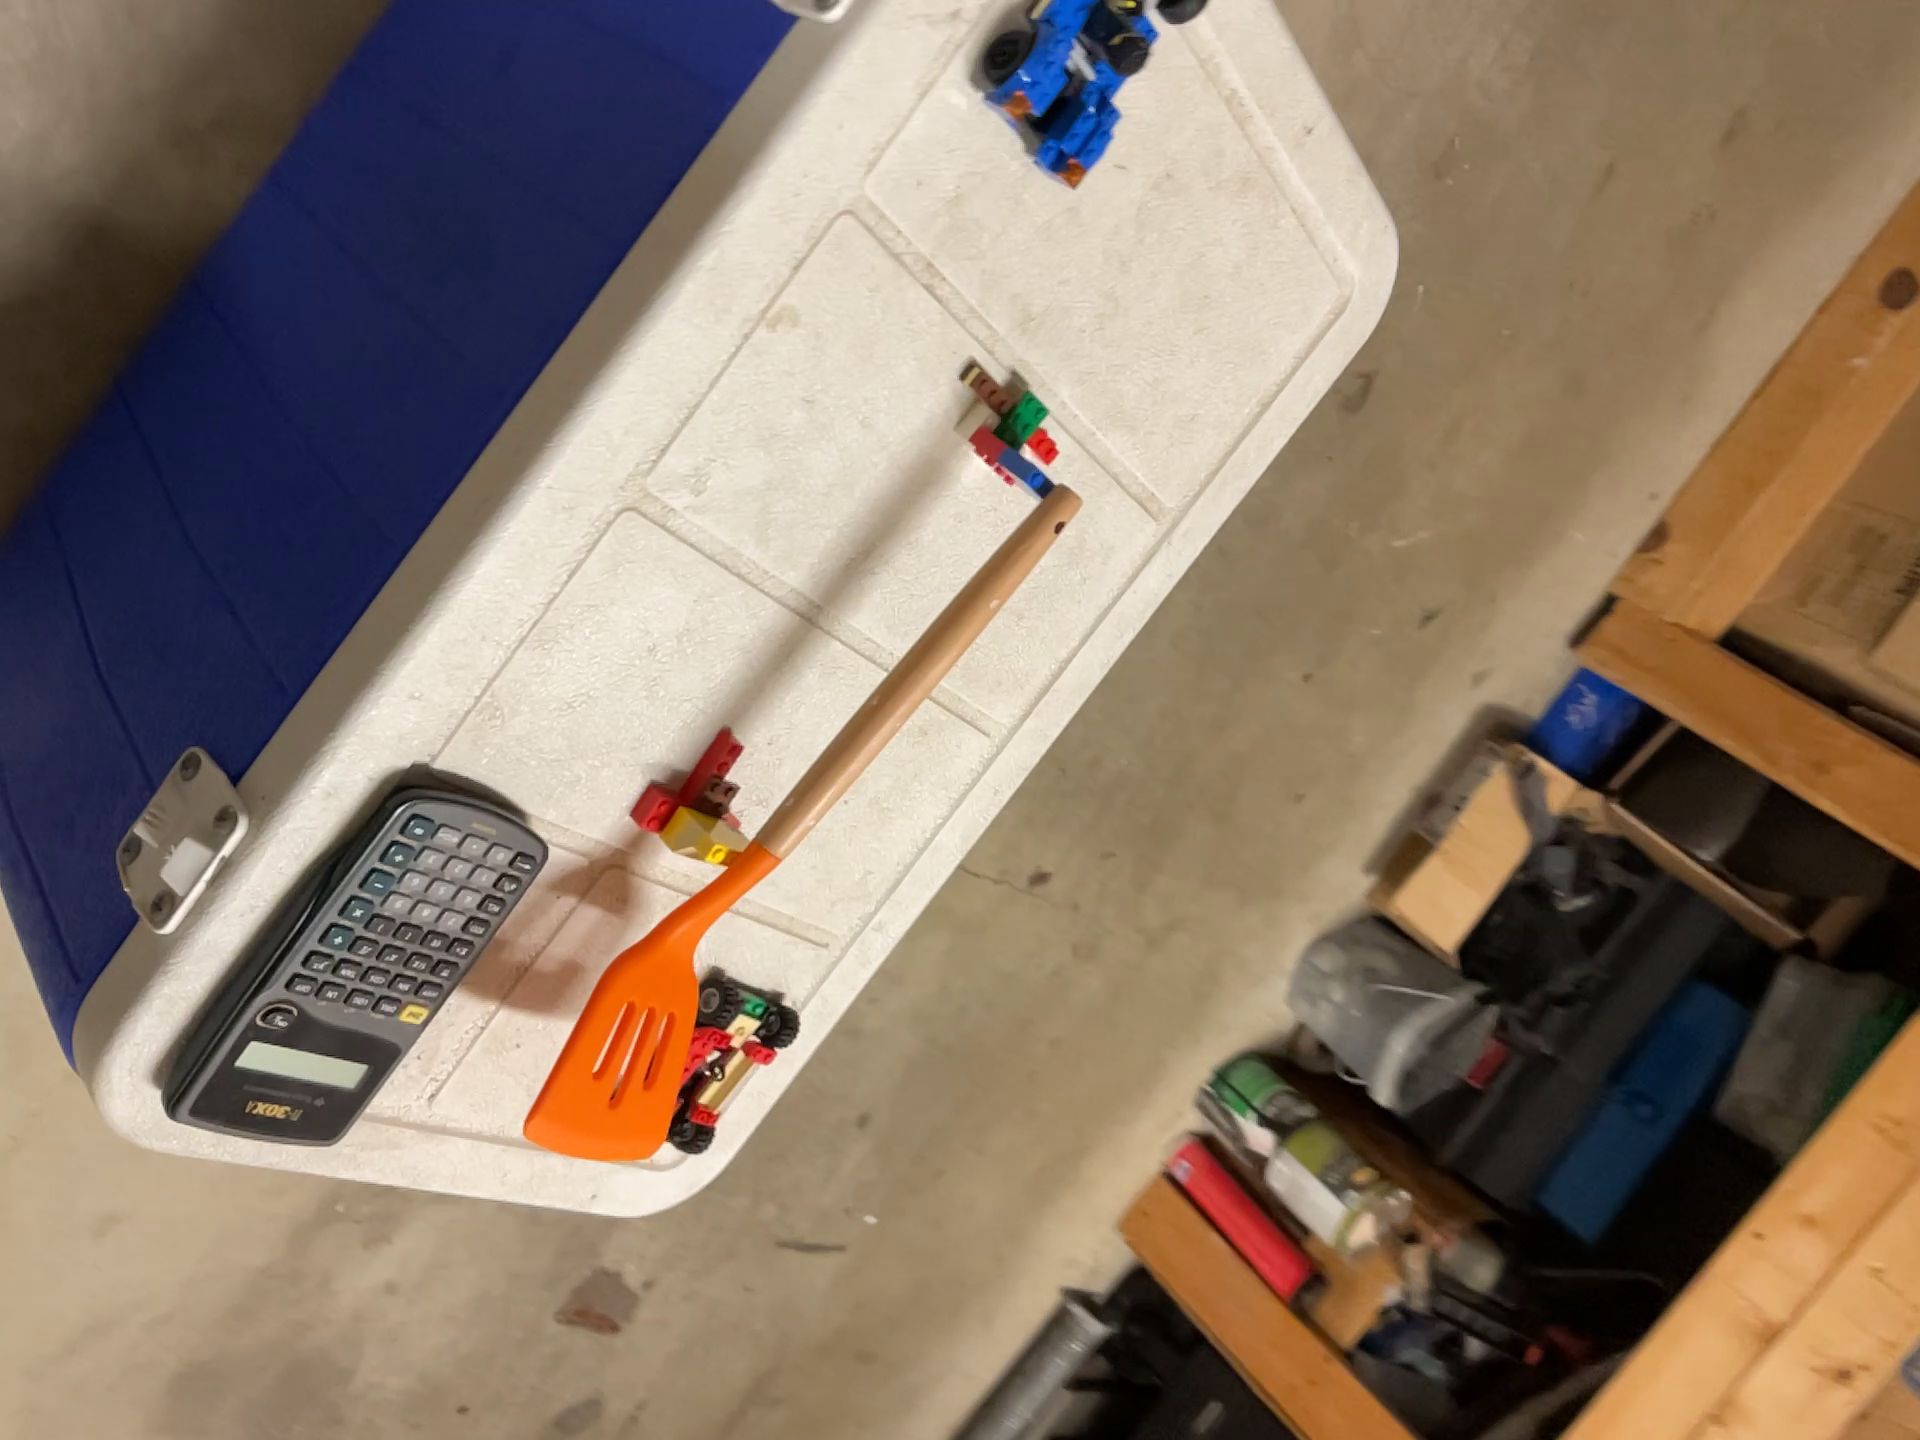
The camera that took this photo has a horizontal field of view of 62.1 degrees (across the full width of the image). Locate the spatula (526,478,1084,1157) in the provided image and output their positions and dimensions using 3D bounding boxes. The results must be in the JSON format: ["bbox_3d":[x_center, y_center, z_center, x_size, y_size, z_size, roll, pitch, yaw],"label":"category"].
[{"bbox_3d":[-0.054,0.036,0.629,0.322,0.041,0.081,-50,145,3],"label":"spatula"}]
